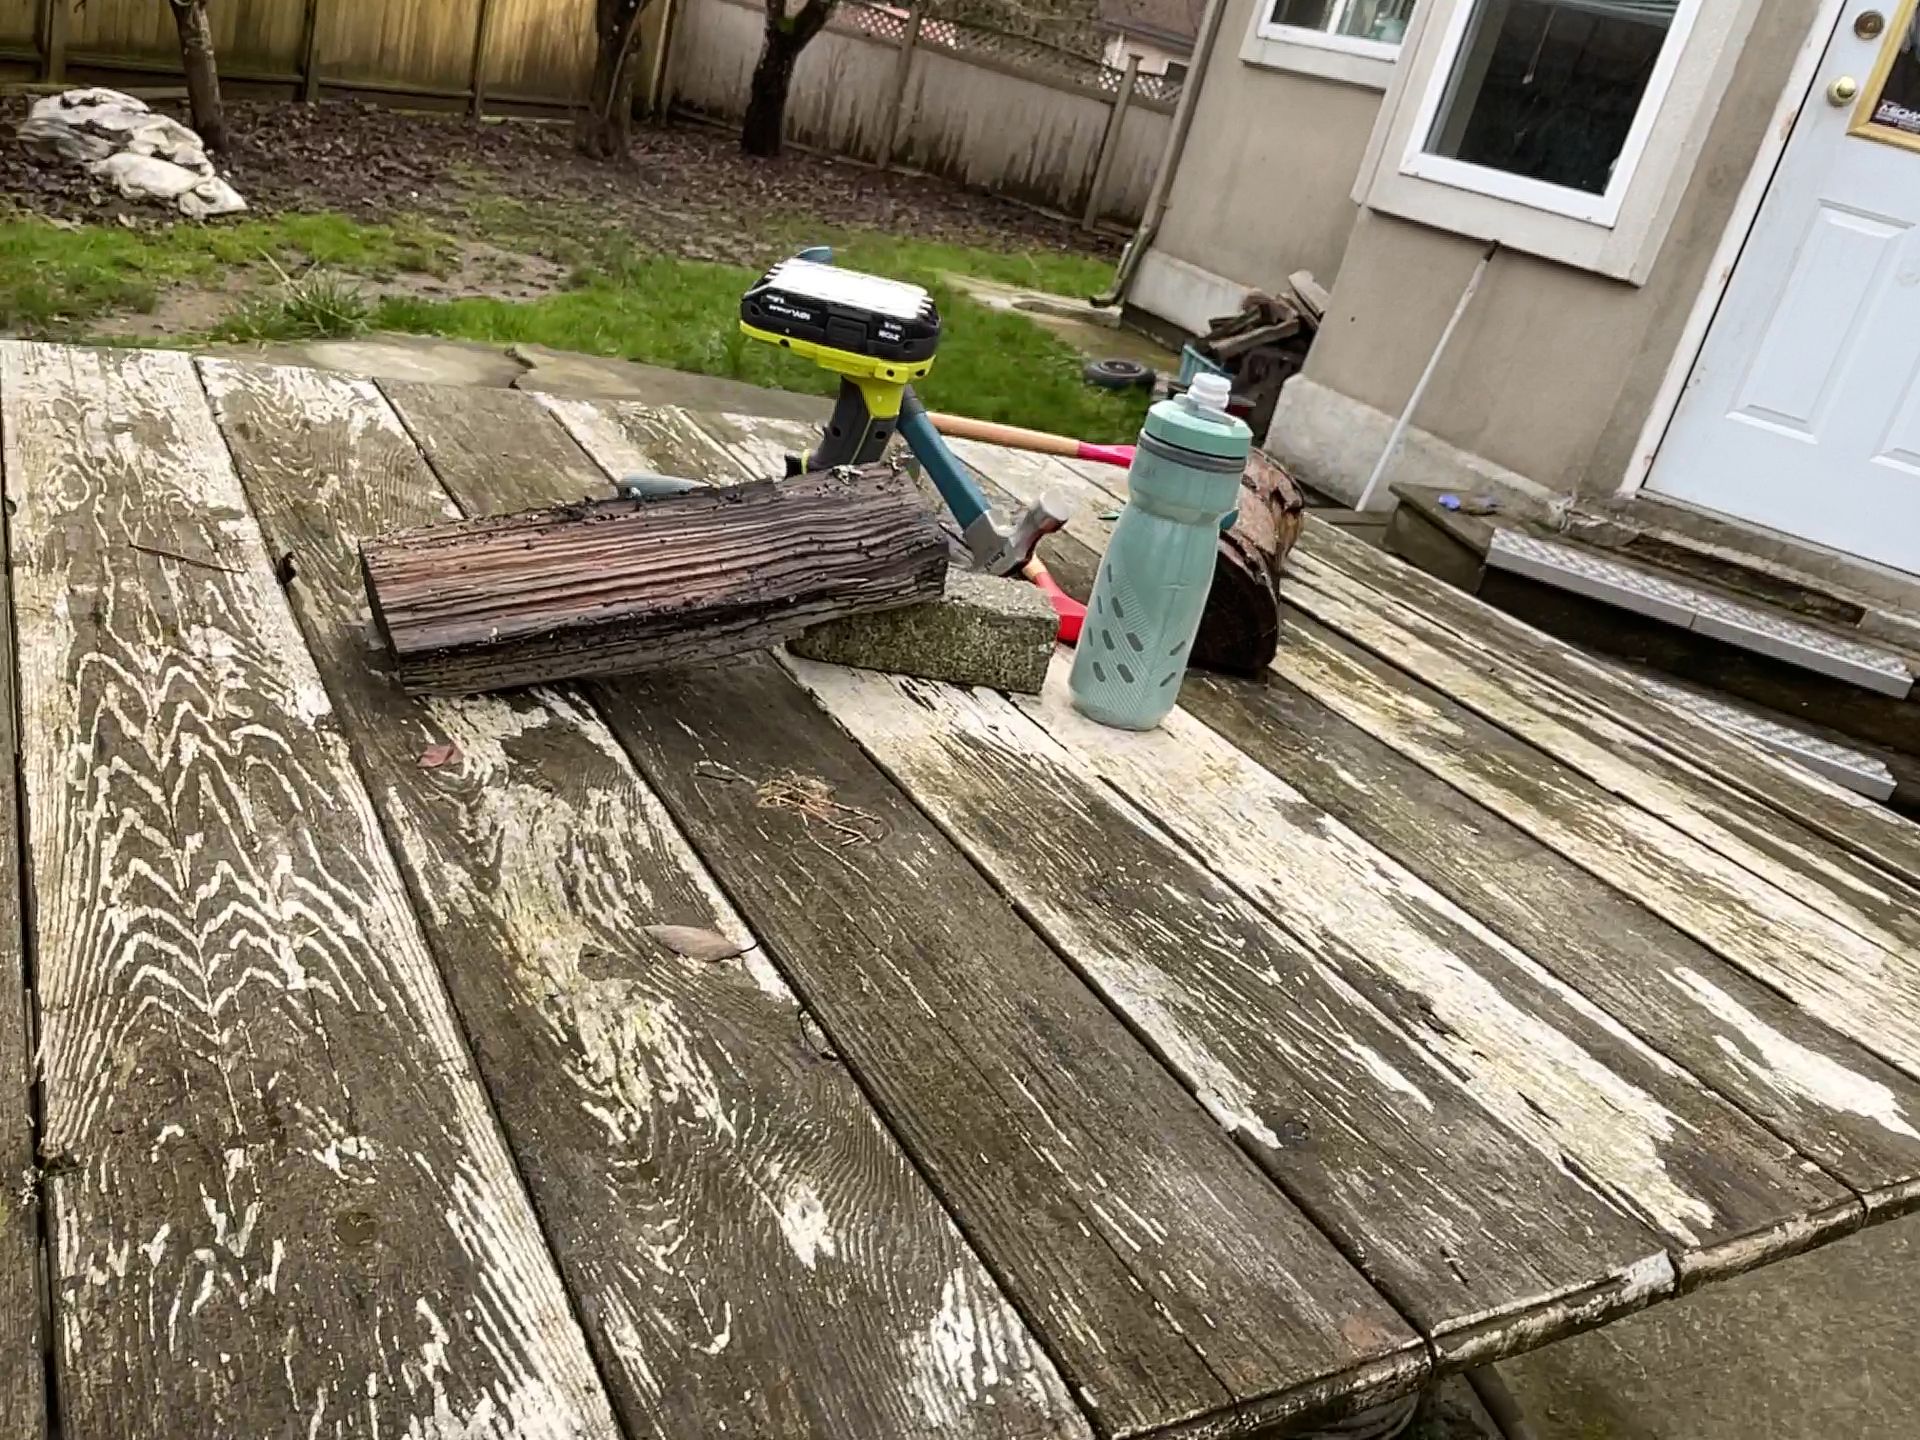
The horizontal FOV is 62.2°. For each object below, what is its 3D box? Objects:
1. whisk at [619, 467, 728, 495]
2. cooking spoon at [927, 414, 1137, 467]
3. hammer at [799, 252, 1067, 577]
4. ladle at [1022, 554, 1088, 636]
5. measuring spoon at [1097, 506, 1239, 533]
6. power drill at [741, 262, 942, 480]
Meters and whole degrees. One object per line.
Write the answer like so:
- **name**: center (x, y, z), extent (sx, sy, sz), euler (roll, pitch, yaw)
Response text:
- **whisk**: center (-0.153, -0.173, 1.267), extent (0.239, 0.055, 0.055), euler (10, 14, -1)
- **cooking spoon**: center (0.082, -0.242, 1.400), extent (0.319, 0.017, 0.069), euler (10, 23, 2)
- **hammer**: center (-0.045, -0.254, 1.303), extent (0.033, 0.128, 0.331), euler (-13, 67, -53)
- **ladle**: center (0.061, -0.127, 1.327), extent (0.069, 0.031, 0.316), euler (5, 21, -16)
- **measuring spoon**: center (0.161, -0.155, 1.251), extent (0.129, 0.021, 0.042), euler (4, 11, 41)
- **power drill**: center (-0.106, -0.204, 1.151), extent (0.171, 0.223, 0.080), euler (13, 29, 0)
